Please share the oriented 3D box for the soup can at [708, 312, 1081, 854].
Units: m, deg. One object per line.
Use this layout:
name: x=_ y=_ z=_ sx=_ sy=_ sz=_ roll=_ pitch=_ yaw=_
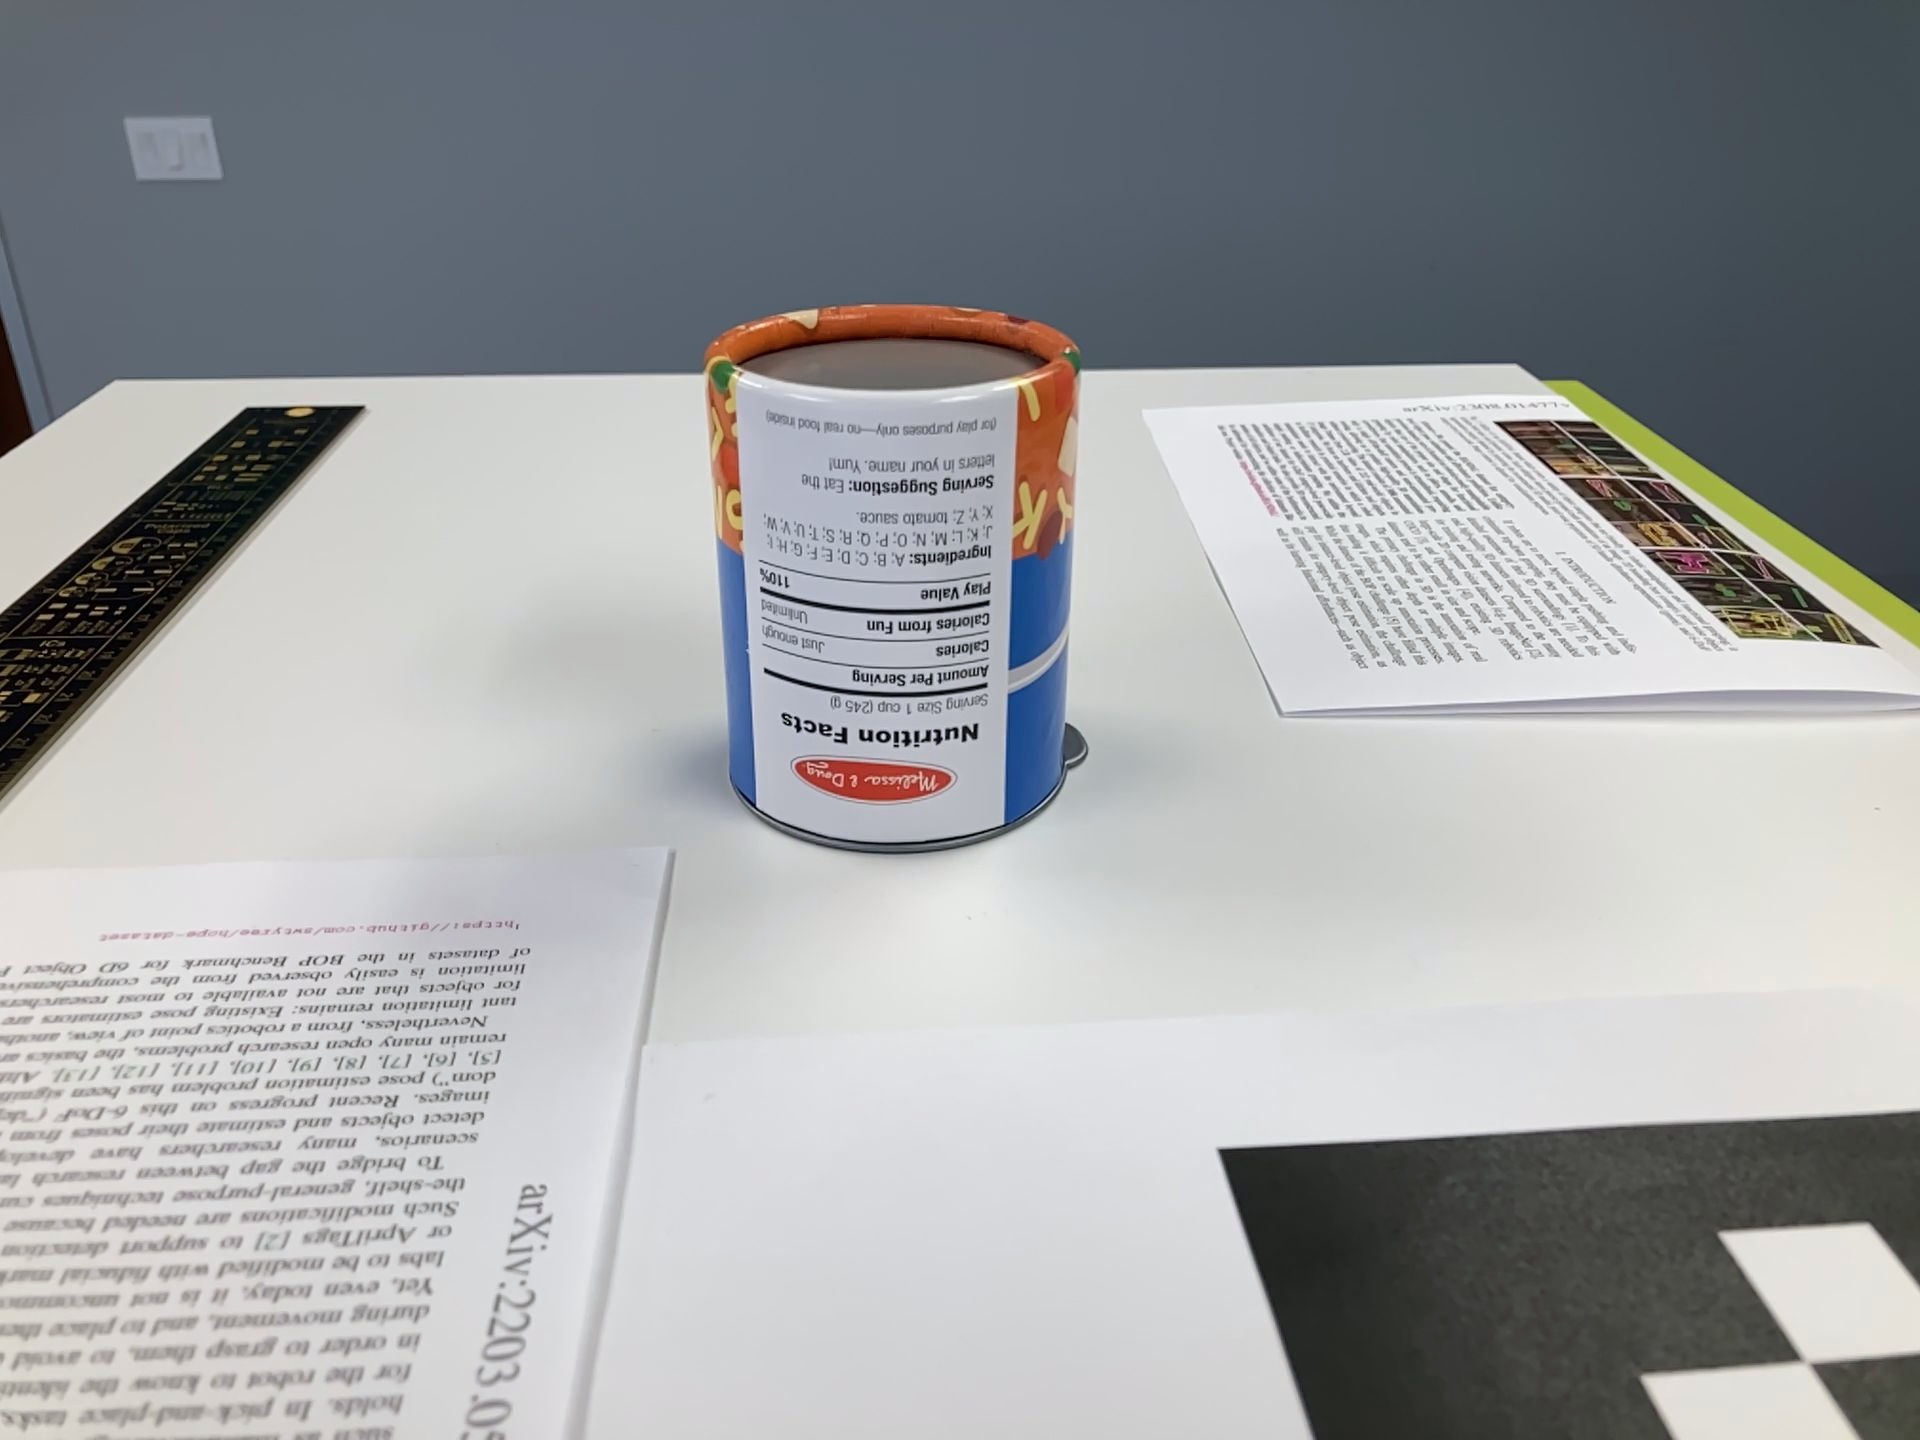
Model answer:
soup can: x=-0.012 y=-0.029 z=0.299 sx=0.071 sy=0.084 sz=0.071 roll=1 pitch=27 yaw=0
